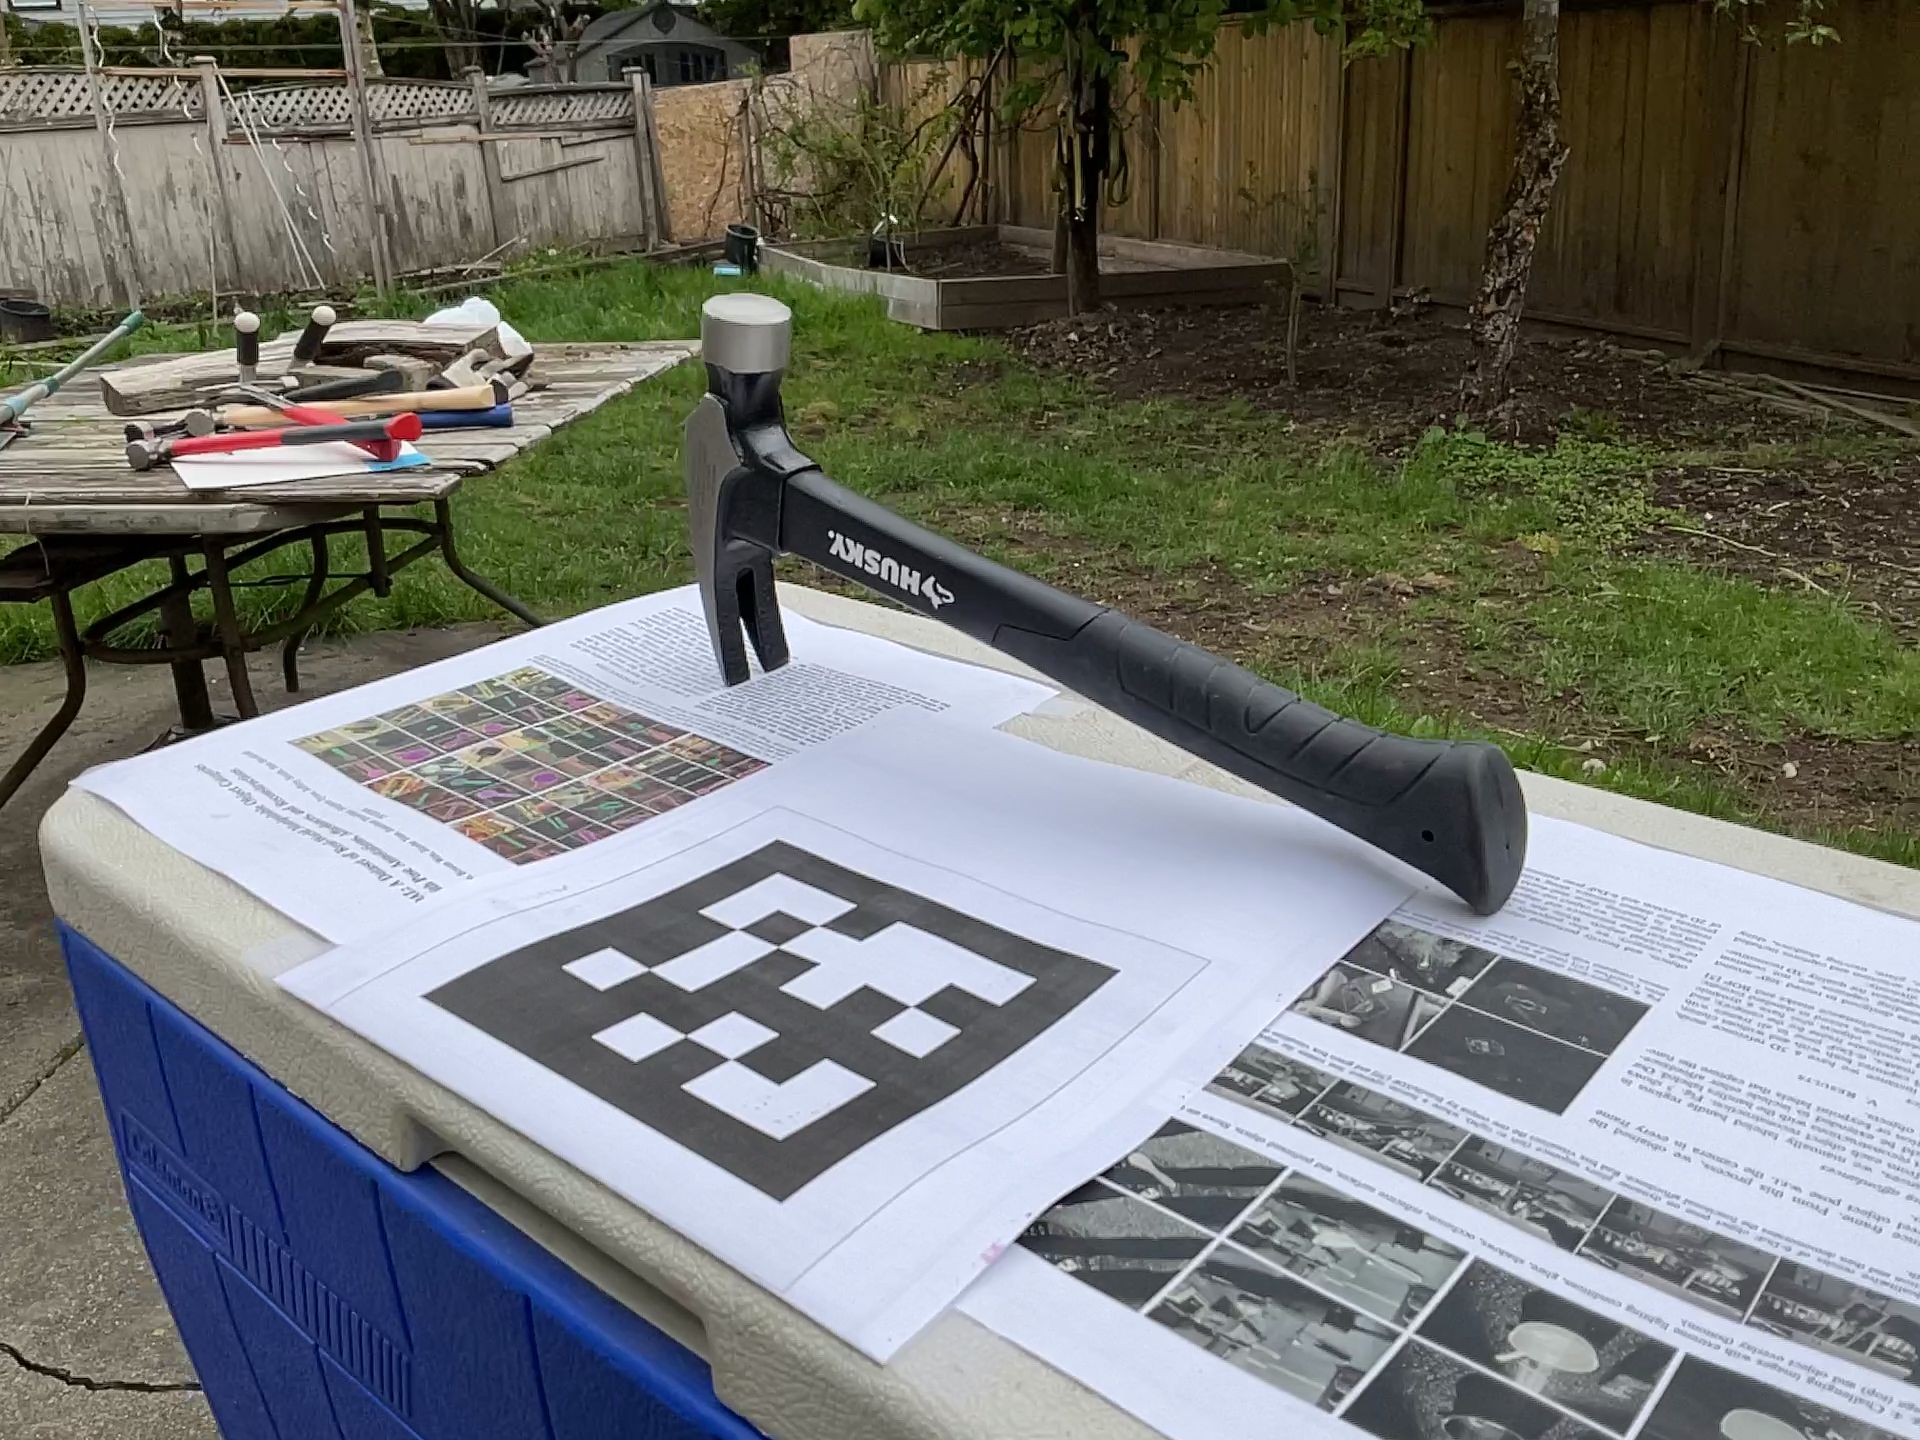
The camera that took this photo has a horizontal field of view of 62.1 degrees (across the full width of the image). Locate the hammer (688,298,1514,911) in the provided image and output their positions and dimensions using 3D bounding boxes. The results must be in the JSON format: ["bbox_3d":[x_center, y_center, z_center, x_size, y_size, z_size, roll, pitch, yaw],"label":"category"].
[{"bbox_3d":[0.027,-0.026,0.538,0.335,0.146,0.035,29,36,32],"label":"hammer"}]
